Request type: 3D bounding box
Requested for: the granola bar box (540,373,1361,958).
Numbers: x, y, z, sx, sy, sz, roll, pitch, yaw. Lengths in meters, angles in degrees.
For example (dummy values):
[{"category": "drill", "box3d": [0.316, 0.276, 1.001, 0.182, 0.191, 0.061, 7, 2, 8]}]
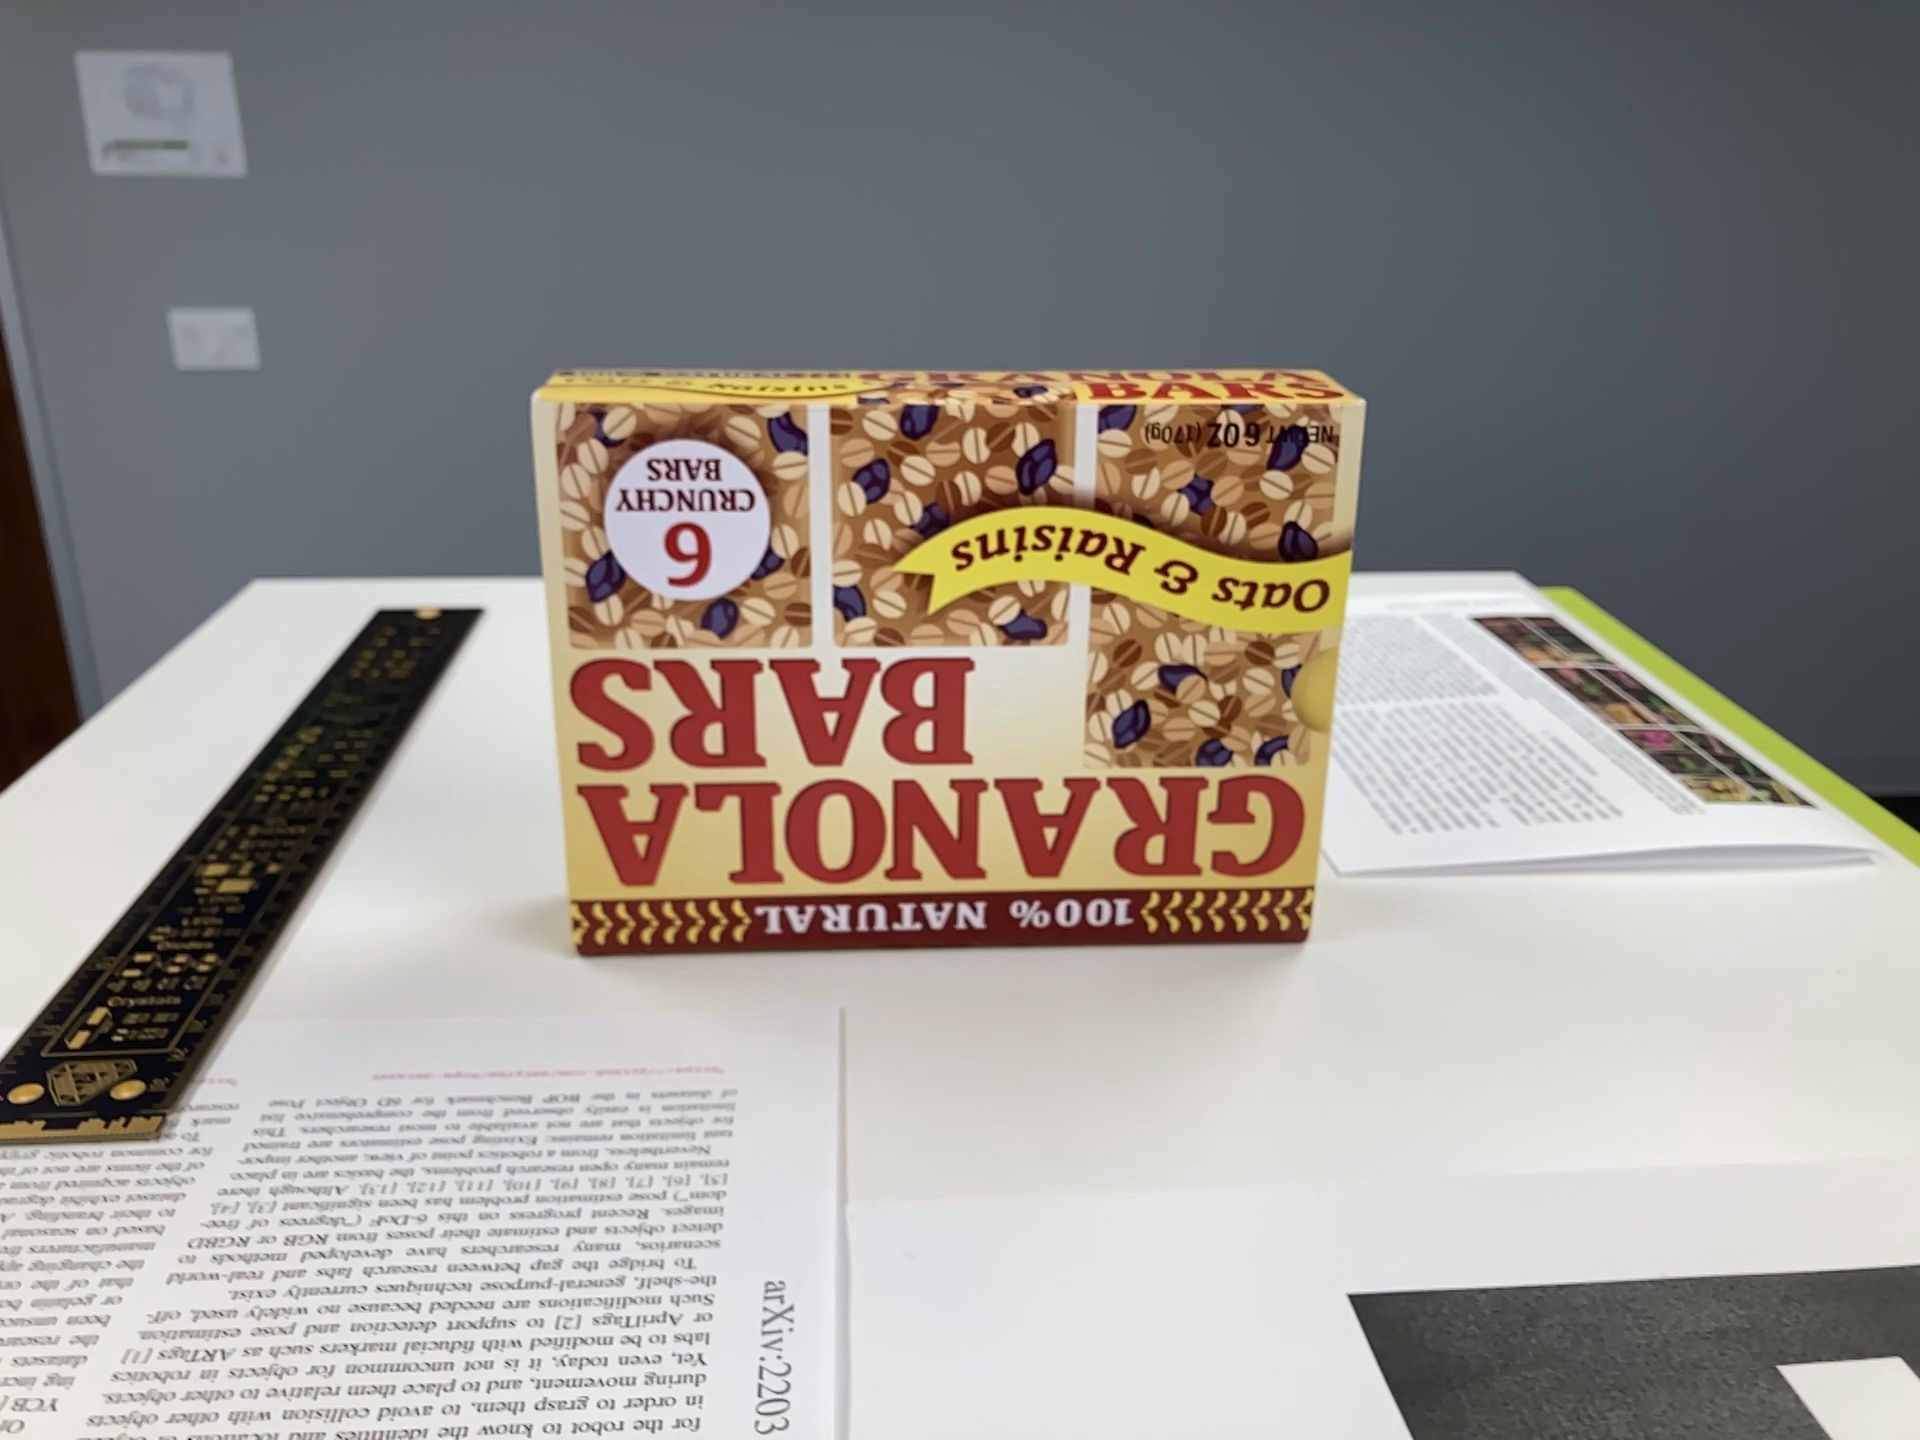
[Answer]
[{"category": "granola bar box", "box3d": [-0.002, -0.012, 0.352, 0.165, 0.124, 0.039, -1, 21, -4]}]
